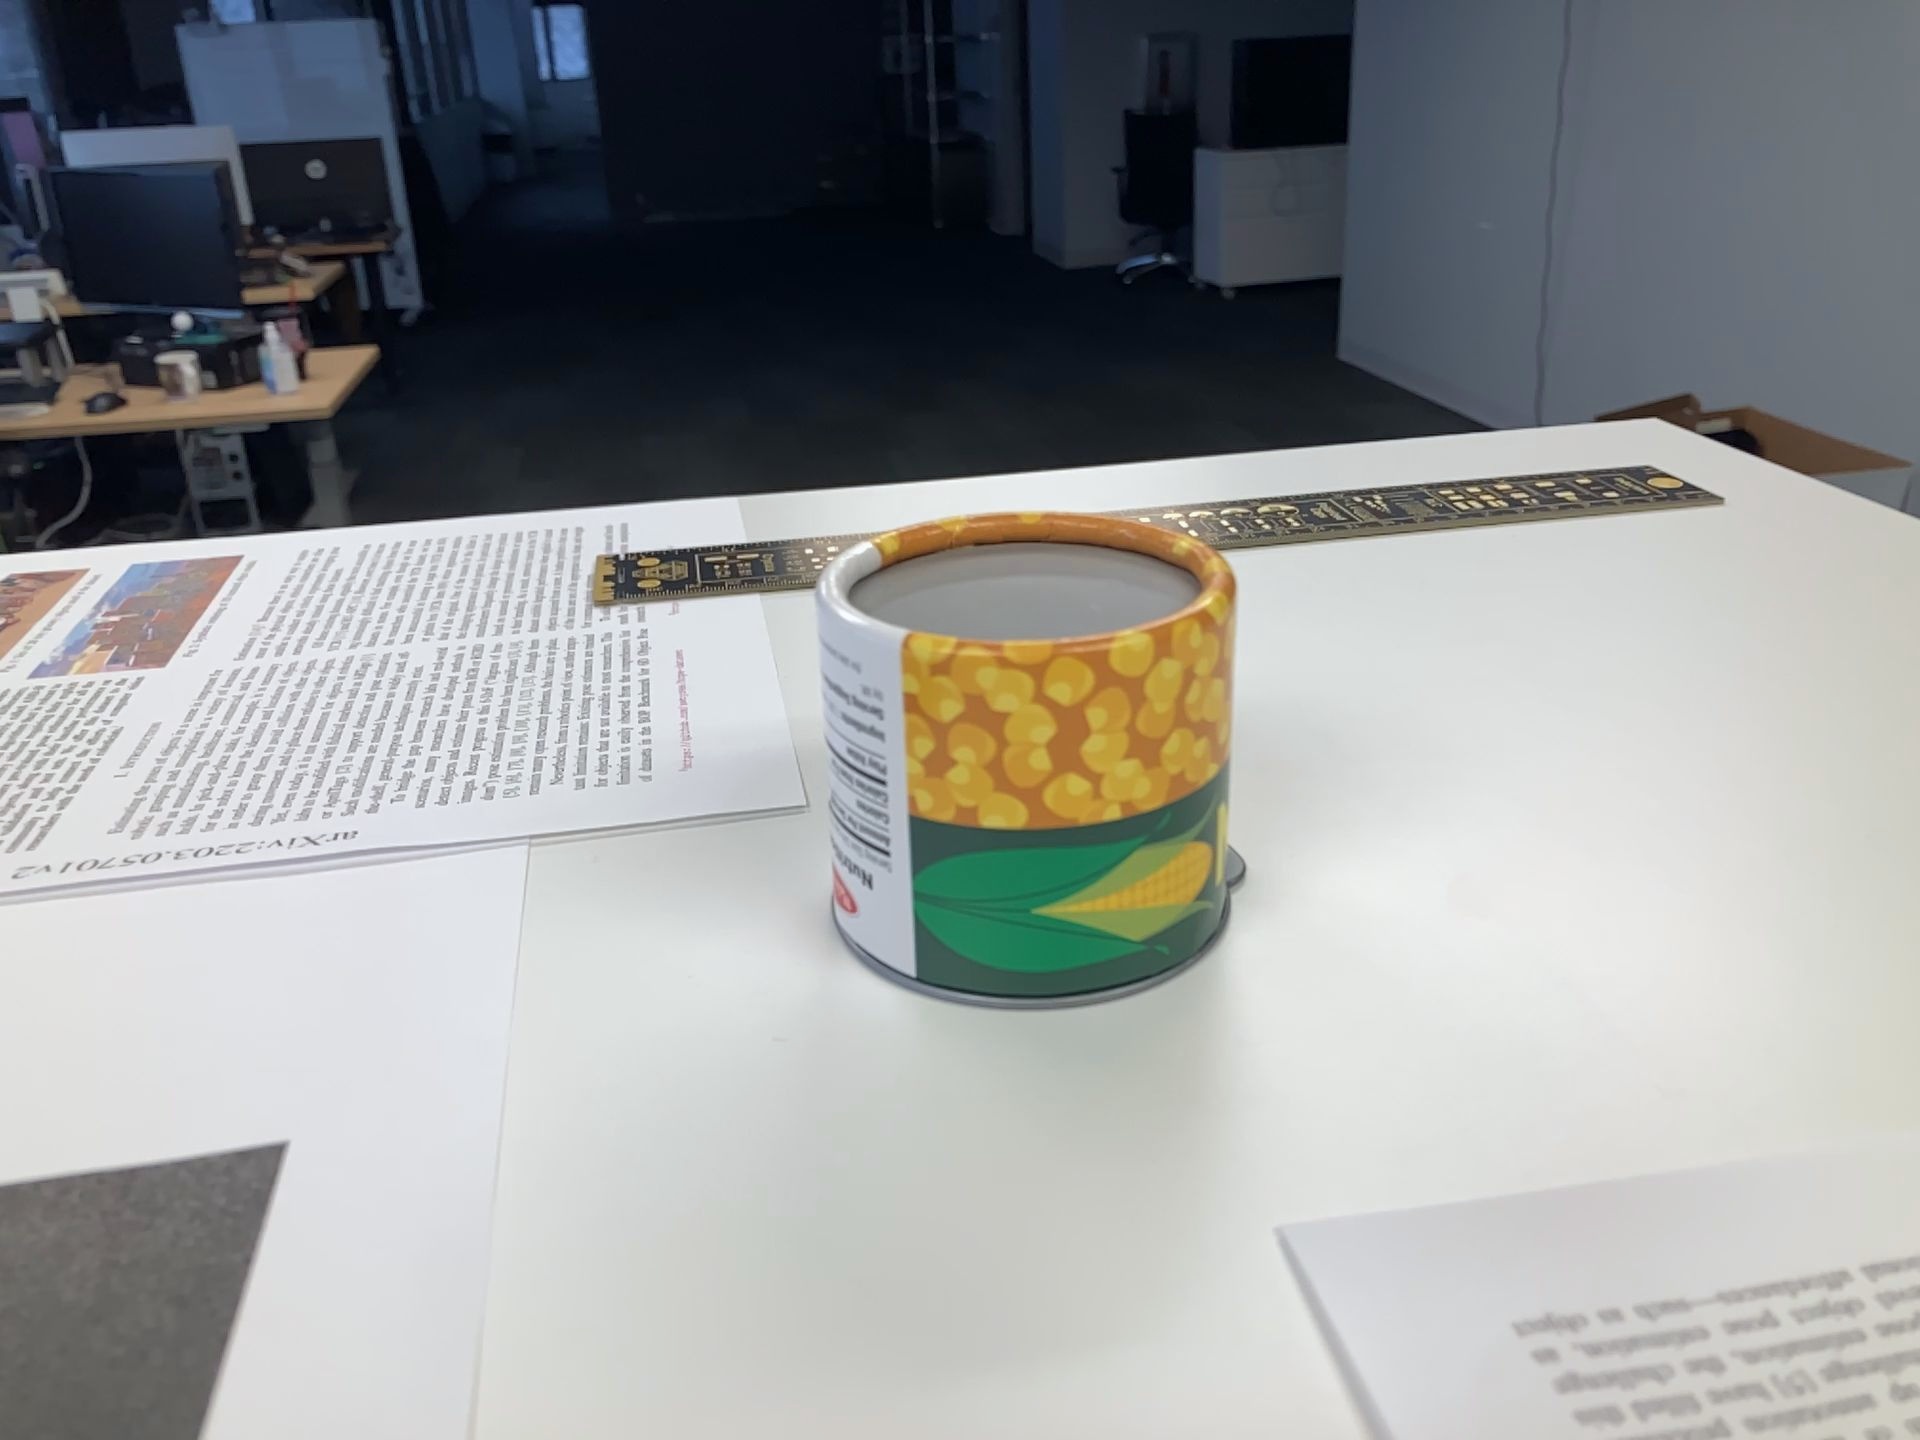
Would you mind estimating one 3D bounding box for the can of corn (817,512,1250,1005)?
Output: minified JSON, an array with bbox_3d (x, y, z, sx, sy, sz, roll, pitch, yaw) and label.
[{"bbox_3d":[0.013,0.003,0.256,0.071,0.058,0.071,-2,23,1],"label":"can of corn"}]
